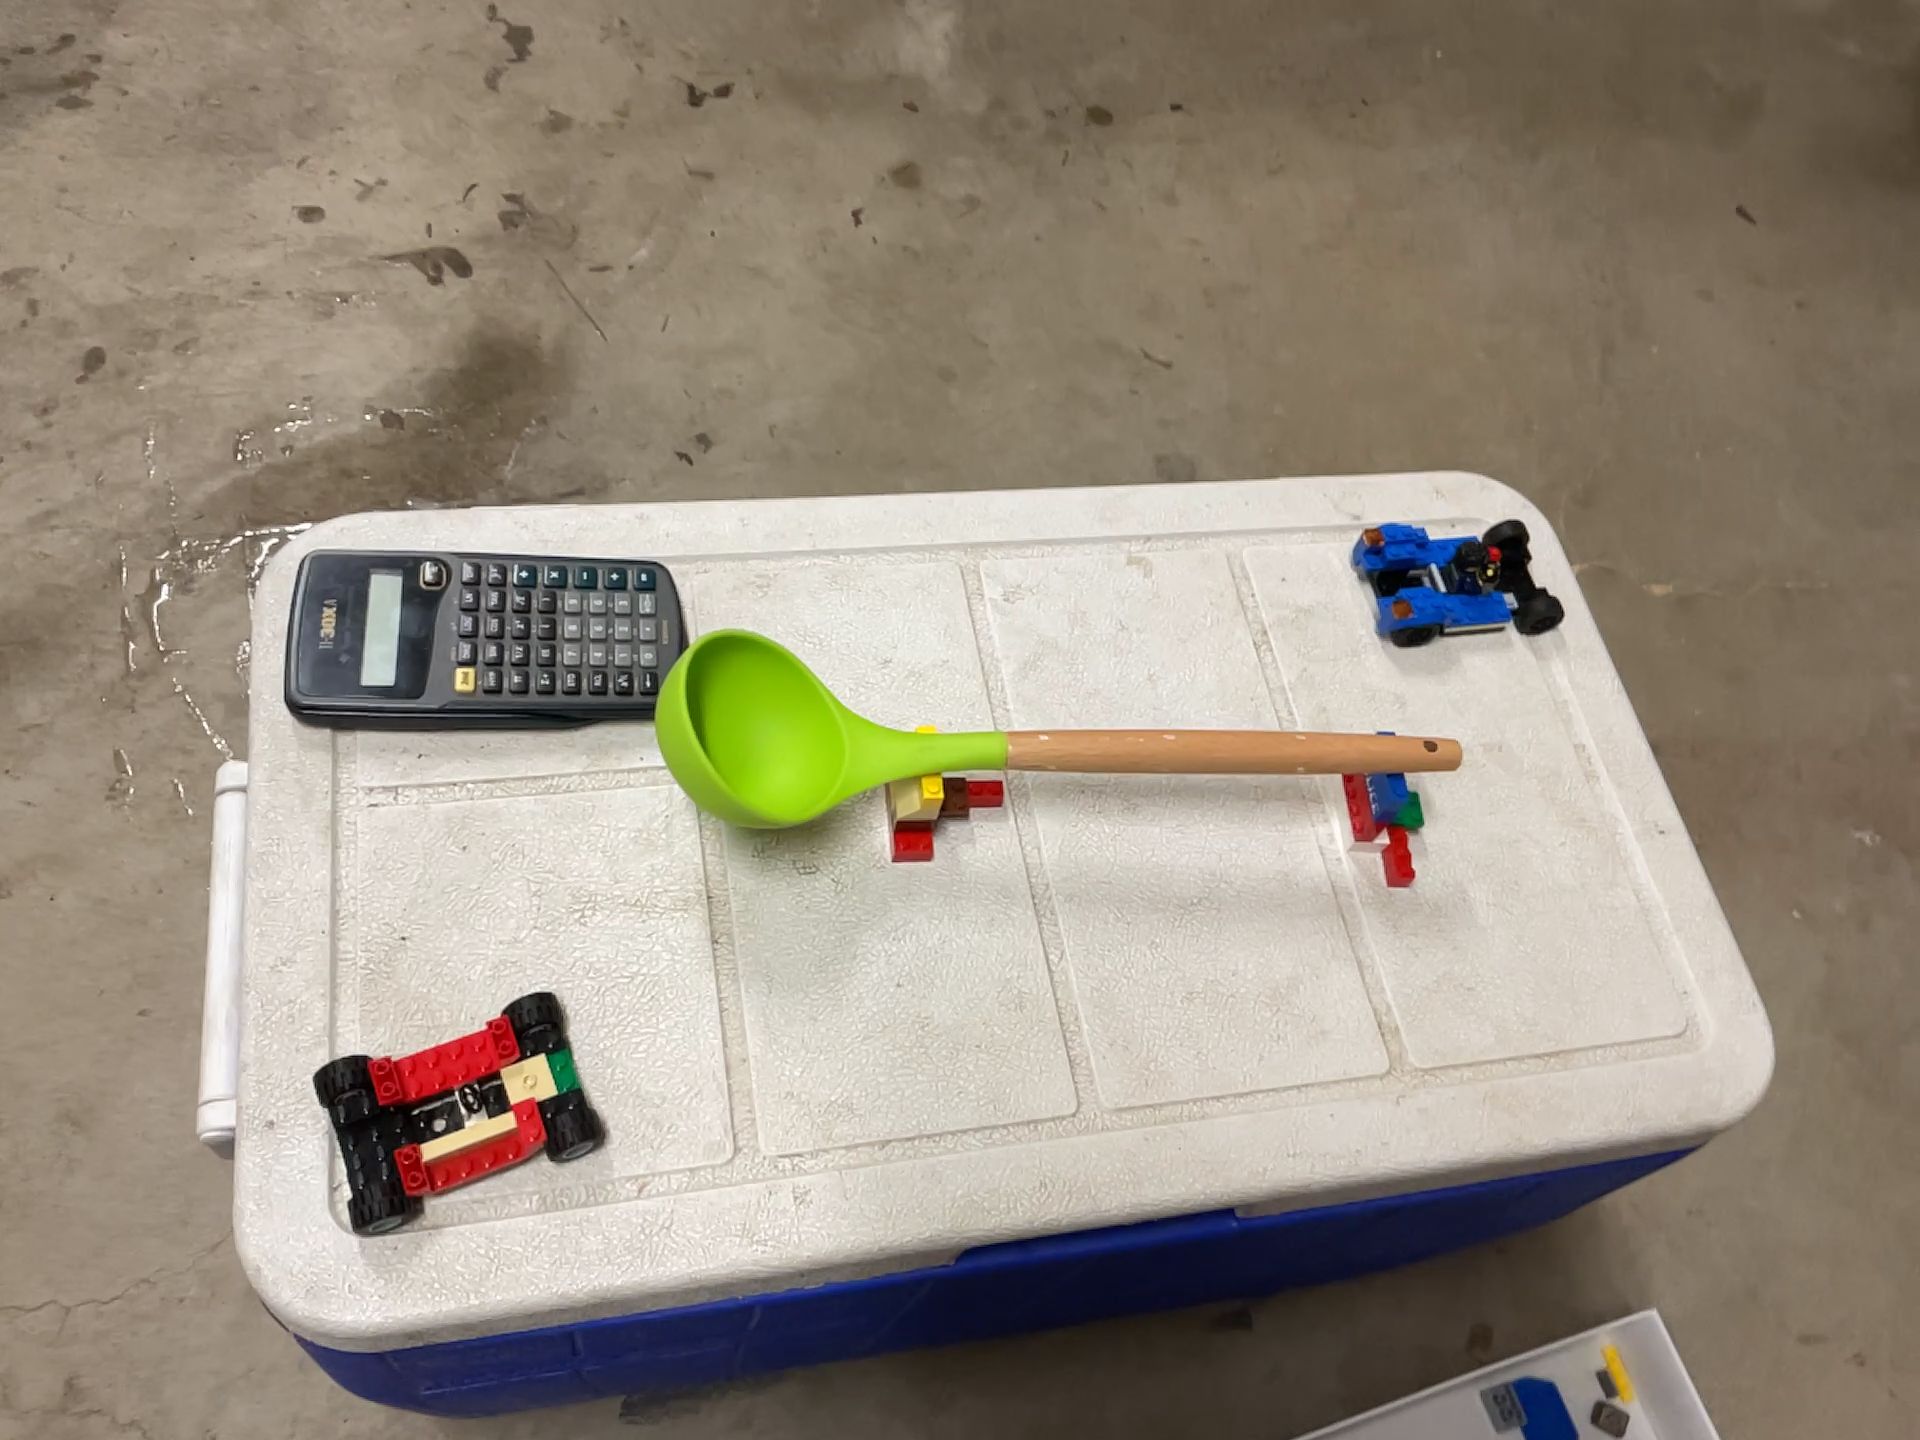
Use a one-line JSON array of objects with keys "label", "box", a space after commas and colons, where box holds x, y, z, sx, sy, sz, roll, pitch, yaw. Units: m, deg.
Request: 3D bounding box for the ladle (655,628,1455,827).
[{"label": "ladle", "box": [0.044, 0.006, 0.620, 0.320, 0.062, 0.078, 1, 59, -9]}]
